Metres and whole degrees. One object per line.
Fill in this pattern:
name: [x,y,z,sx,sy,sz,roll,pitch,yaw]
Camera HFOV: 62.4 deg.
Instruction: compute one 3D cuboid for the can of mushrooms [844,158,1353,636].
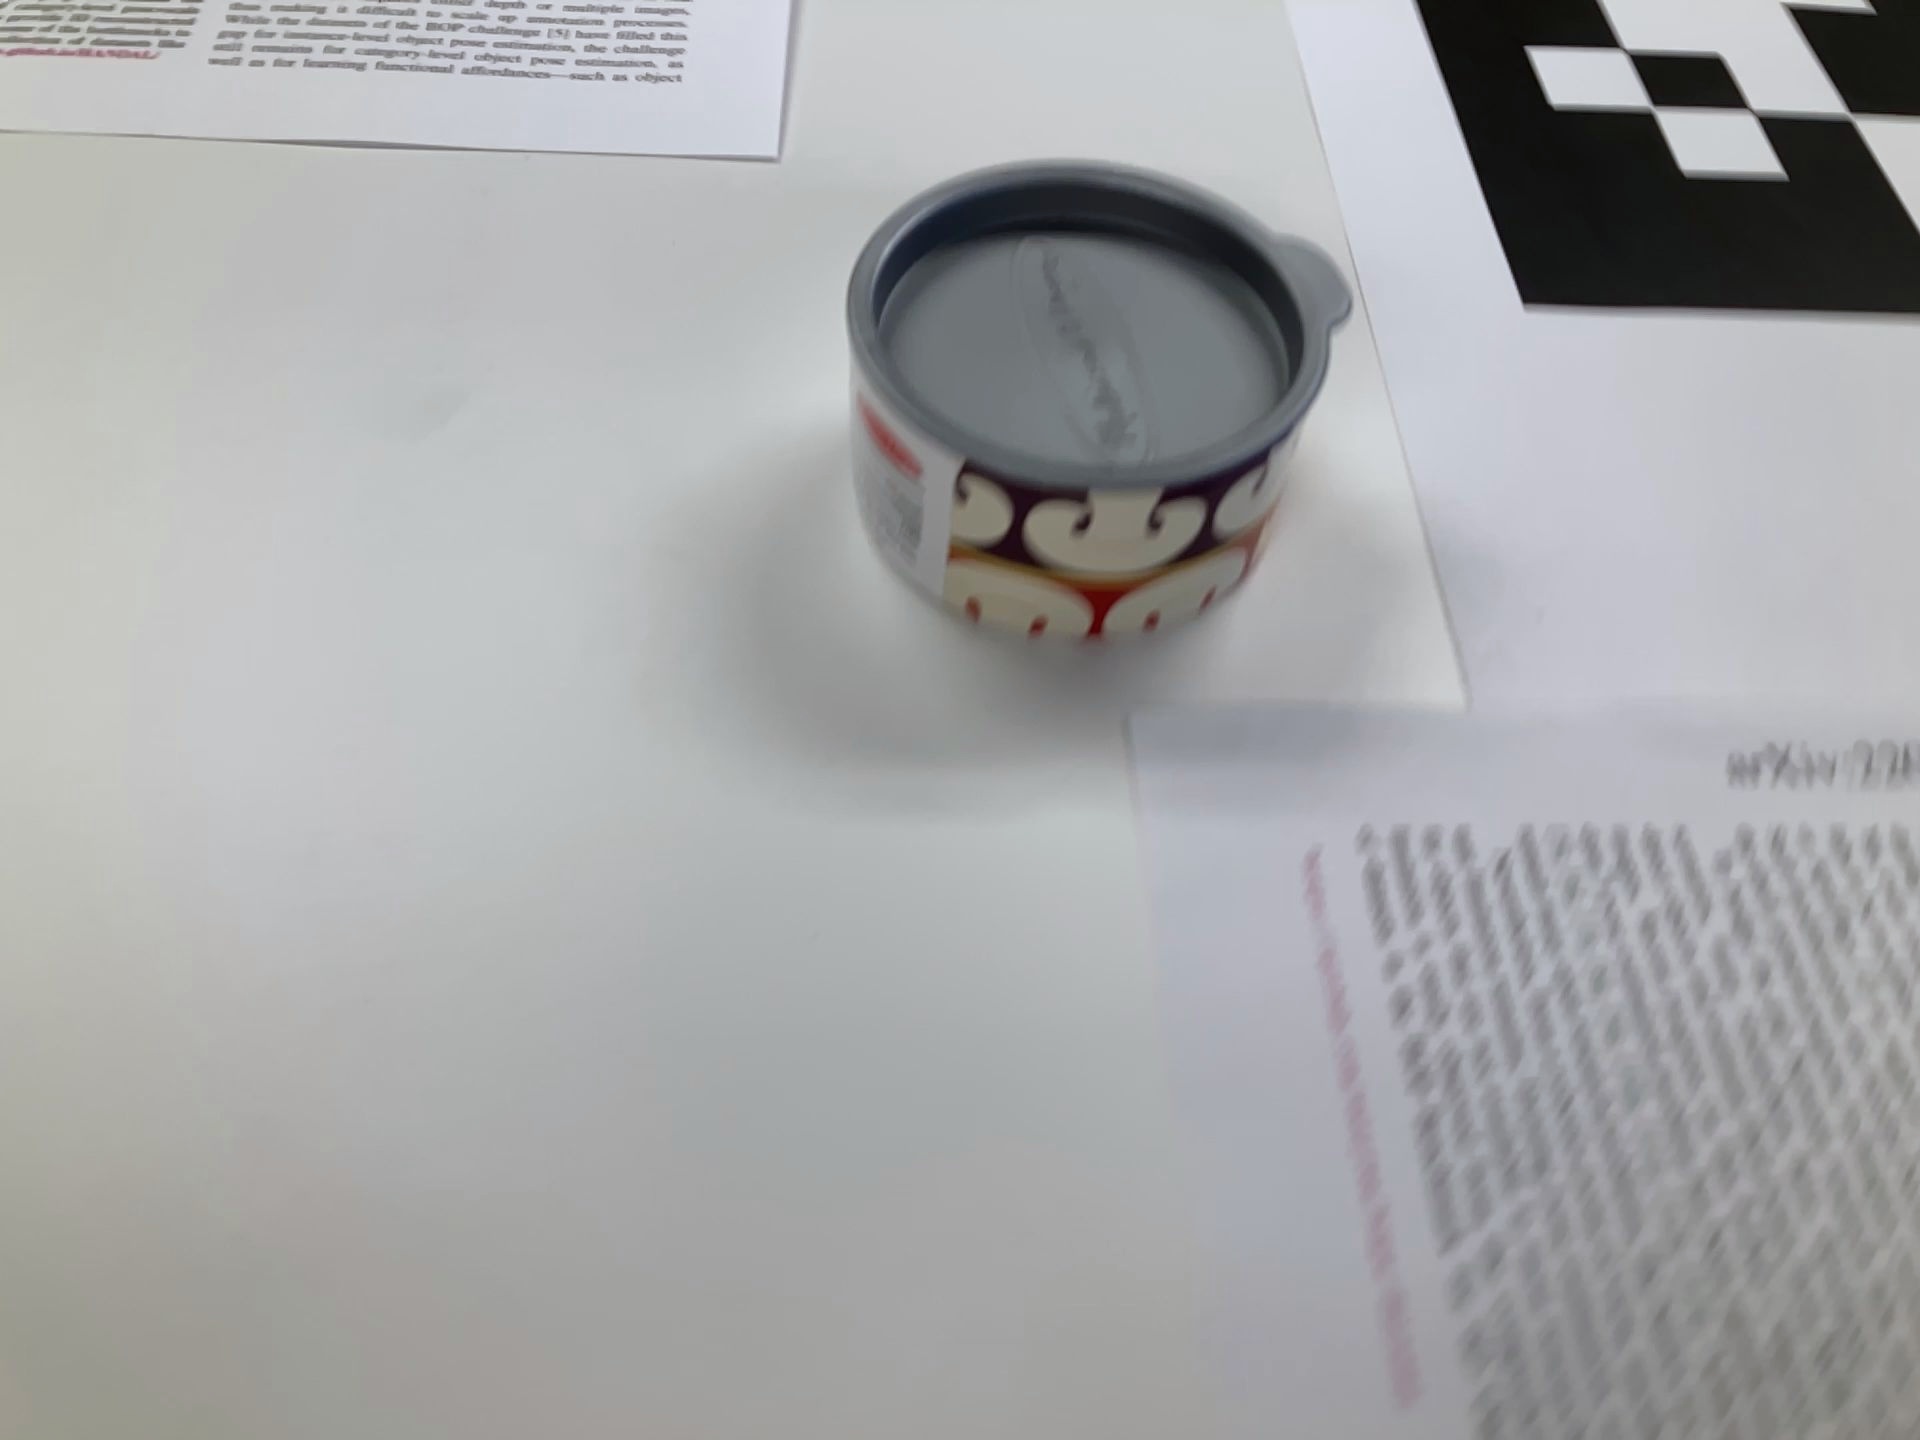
can of mushrooms: [0.019,-0.047,0.228,0.071,0.033,0.071,2,54,-2]
